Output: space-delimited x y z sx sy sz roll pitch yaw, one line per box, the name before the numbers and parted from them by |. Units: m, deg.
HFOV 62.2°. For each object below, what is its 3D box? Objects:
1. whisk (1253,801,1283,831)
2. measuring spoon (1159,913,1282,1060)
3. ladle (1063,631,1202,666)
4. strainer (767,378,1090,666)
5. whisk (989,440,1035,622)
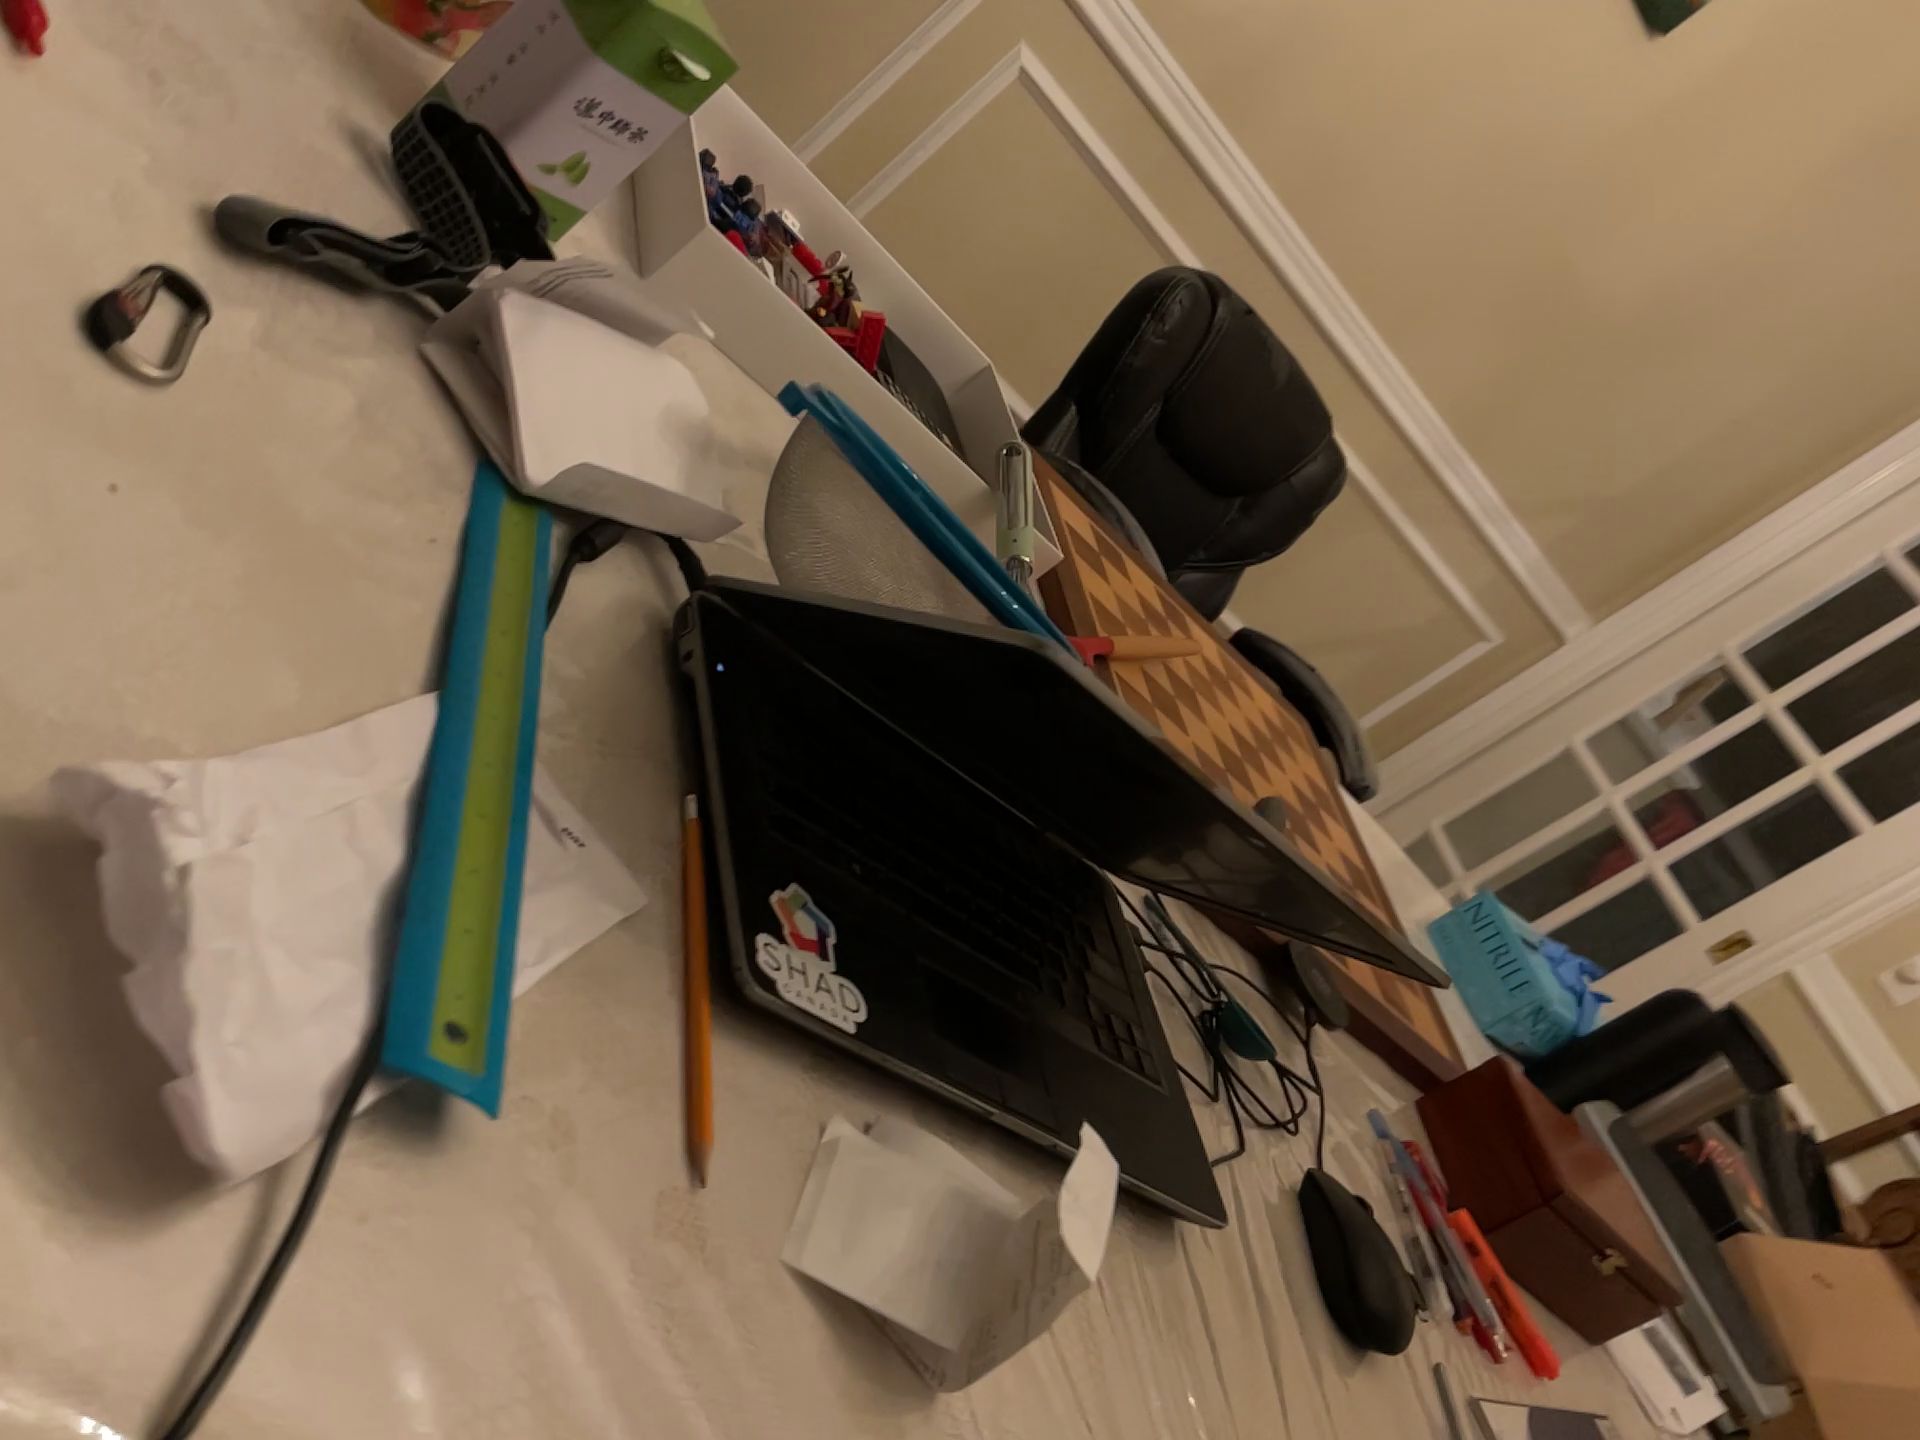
whisk | 0.217 0.092 1.153 0.055 0.055 0.239 68 16 -3
measuring spoon | 0.147 0.158 0.970 0.129 0.021 0.042 51 9 28
ladle | 0.121 -0.057 1.196 0.069 0.031 0.315 38 18 23
strainer | 0.010 -0.020 0.821 0.340 0.095 0.211 49 7 1
whisk | 0.035 -0.090 1.017 0.059 0.058 0.246 76 11 -52
